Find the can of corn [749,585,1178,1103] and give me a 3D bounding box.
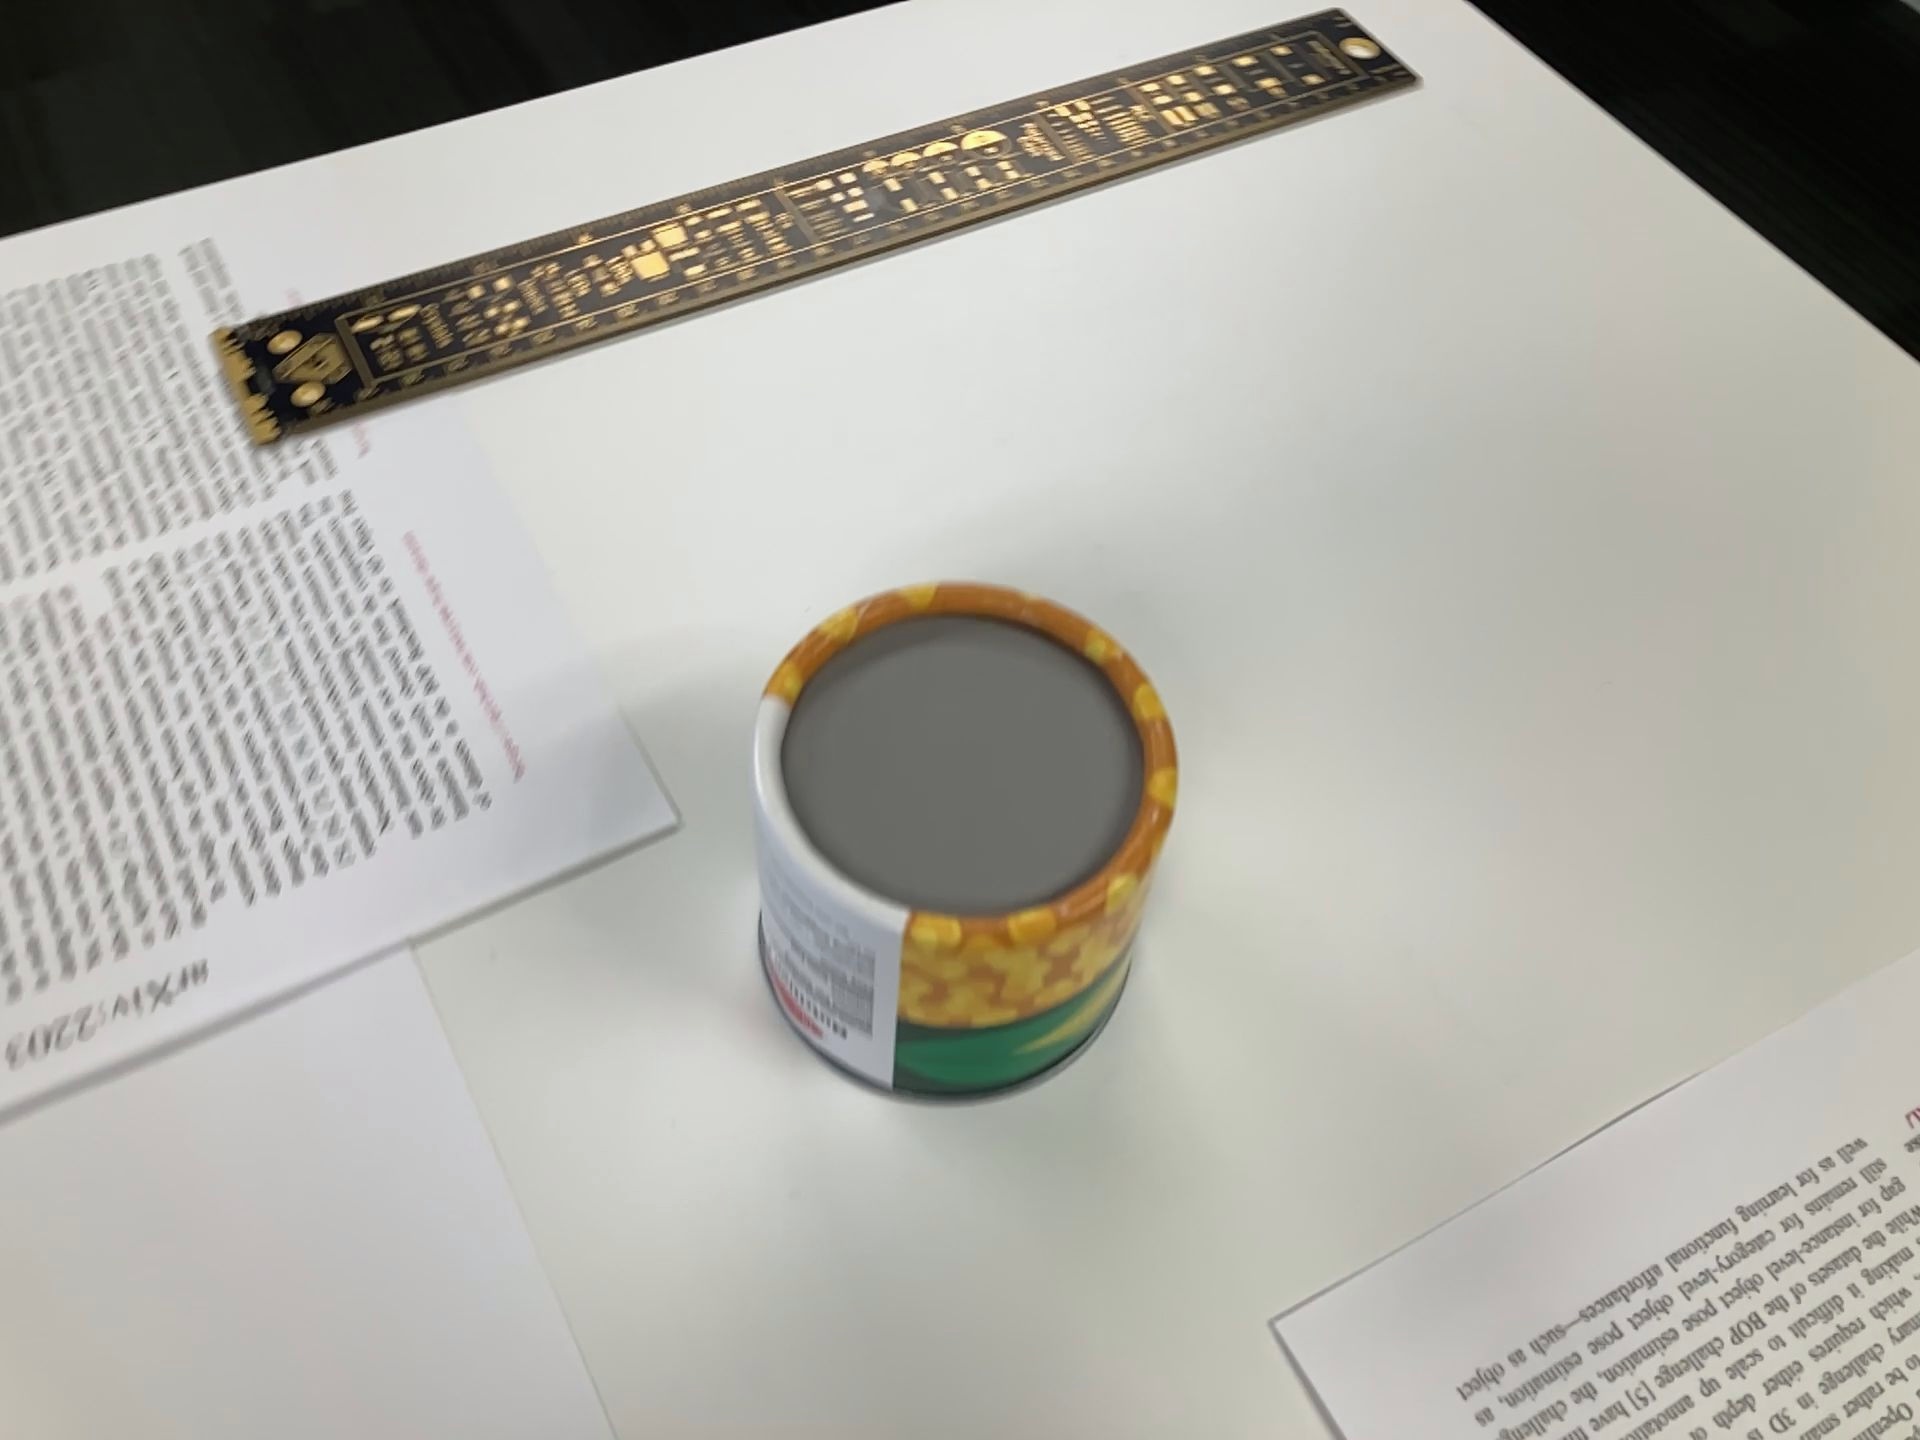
[{"bbox_3d":[0.001,0.019,0.262,0.071,0.058,0.071,2,55,-3],"label":"can of corn"}]
